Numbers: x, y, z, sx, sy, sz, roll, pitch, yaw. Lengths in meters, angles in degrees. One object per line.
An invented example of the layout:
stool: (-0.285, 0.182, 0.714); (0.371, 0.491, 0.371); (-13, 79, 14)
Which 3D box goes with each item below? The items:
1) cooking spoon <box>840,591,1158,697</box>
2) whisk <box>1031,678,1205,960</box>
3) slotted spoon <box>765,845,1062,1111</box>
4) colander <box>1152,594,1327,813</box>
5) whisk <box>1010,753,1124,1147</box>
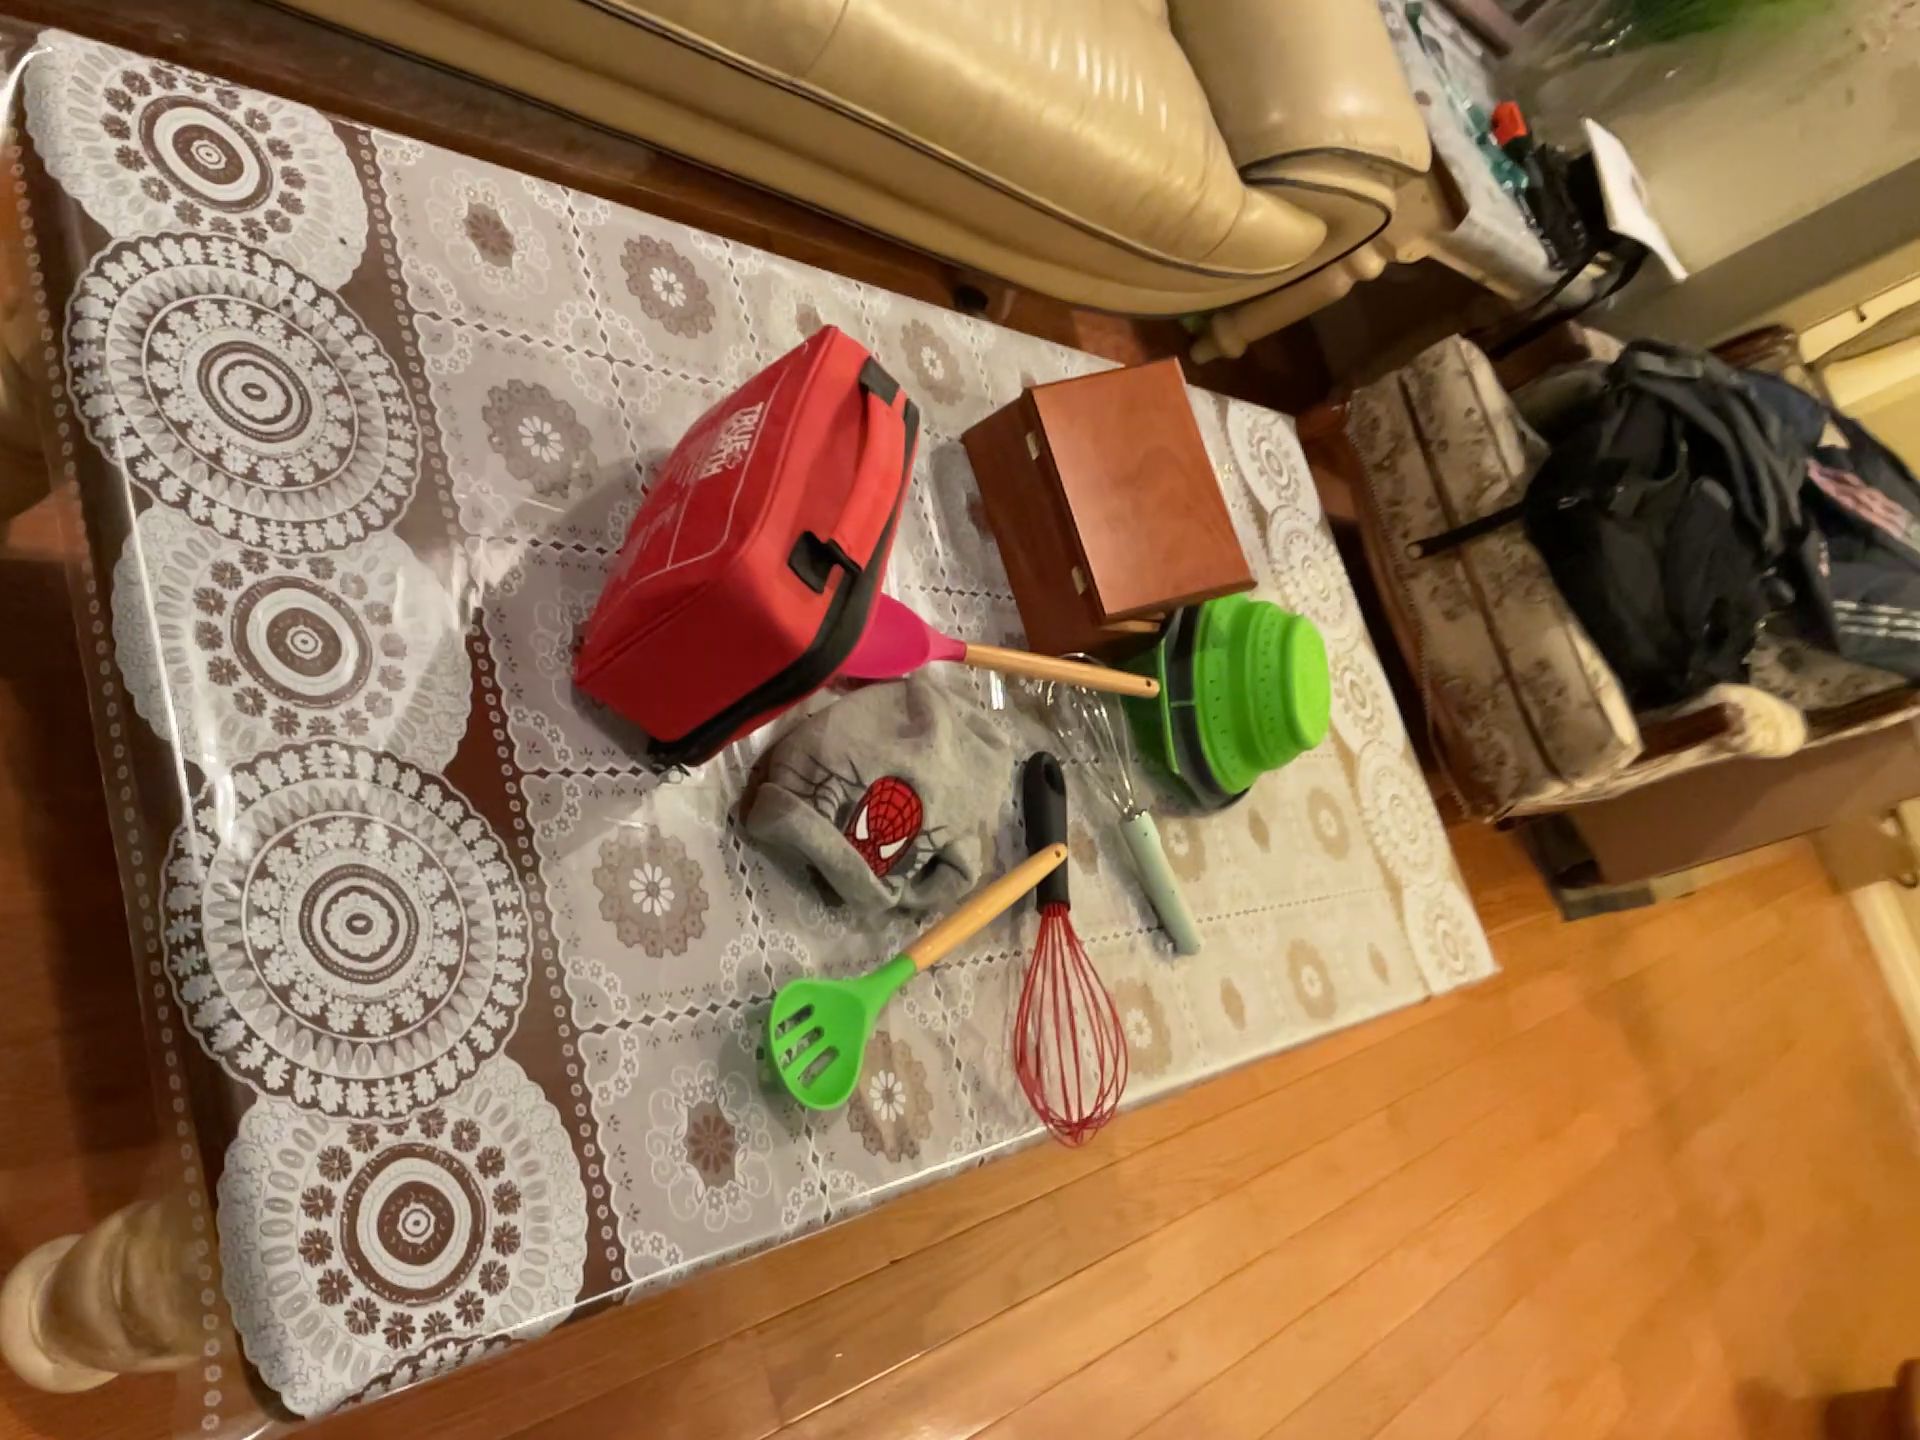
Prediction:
cooking spoon: (0.019, -0.043, 1.091); (0.318, 0.017, 0.069); (9, 63, -37)
whisk: (0.121, 0.068, 1.185); (0.058, 0.059, 0.246); (-27, 94, -14)
slotted spoon: (-0.018, 0.139, 0.948); (0.314, 0.031, 0.070); (-31, 93, -52)
colander: (0.278, -0.039, 1.367); (0.397, 0.094, 0.204); (-17, 102, -62)
whisk: (0.064, 0.141, 1.049); (0.073, 0.073, 0.296); (27, 42, -32)
